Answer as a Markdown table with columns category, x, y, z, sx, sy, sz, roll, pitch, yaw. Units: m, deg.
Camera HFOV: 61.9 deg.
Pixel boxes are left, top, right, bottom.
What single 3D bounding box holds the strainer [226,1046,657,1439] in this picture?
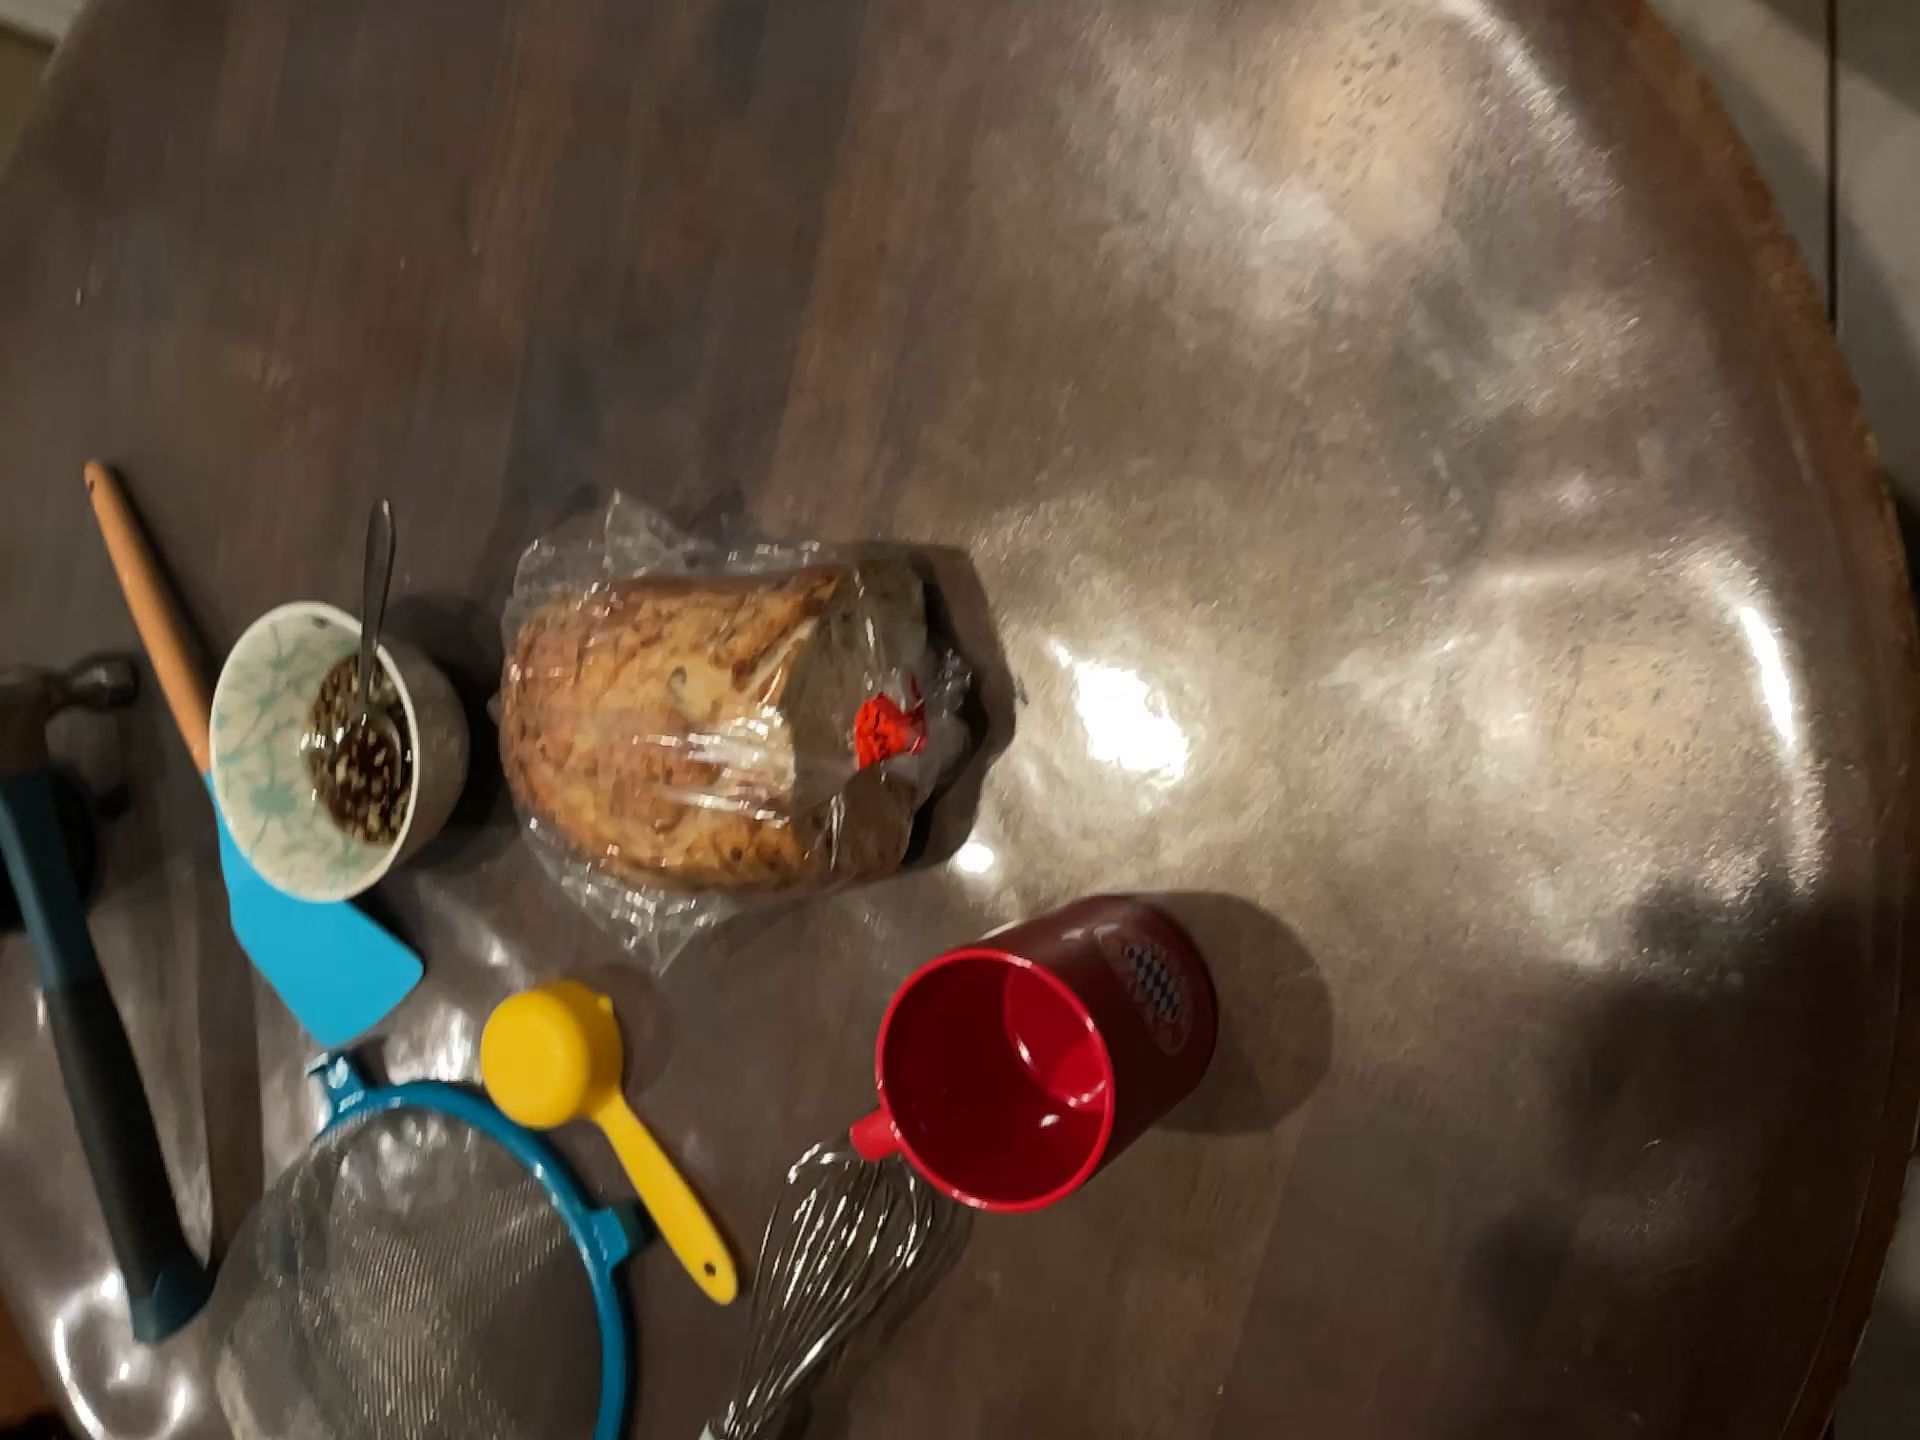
| category | x | y | z | sx | sy | sz | roll | pitch | yaw |
| --- | --- | --- | --- | --- | --- | --- | --- | --- | --- |
| strainer | -0.265 | 0.330 | 0.700 | 0.211 | 0.095 | 0.340 | 19 | 97 | 27 |

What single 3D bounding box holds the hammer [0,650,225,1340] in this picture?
| category | x | y | z | sx | sy | sz | roll | pitch | yaw |
| --- | --- | --- | --- | --- | --- | --- | --- | --- | --- |
| hammer | -0.421 | 0.137 | 0.777 | 0.033 | 0.128 | 0.331 | -10 | 97 | 31 |

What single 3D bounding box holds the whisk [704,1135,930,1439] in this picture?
| category | x | y | z | sx | sy | sz | roll | pitch | yaw |
| --- | --- | --- | --- | --- | --- | --- | --- | --- | --- |
| whisk | -0.080 | 0.265 | 0.606 | 0.059 | 0.058 | 0.246 | 25 | 97 | -7 |

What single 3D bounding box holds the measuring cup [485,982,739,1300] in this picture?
| category | x | y | z | sx | sy | sz | roll | pitch | yaw |
| --- | --- | --- | --- | --- | --- | --- | --- | --- | --- |
| measuring cup | -0.144 | 0.177 | 0.661 | 0.062 | 0.029 | 0.156 | -48 | 70 | 22 |

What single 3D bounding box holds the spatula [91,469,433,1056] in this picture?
| category | x | y | z | sx | sy | sz | roll | pitch | yaw |
| --- | --- | --- | --- | --- | --- | --- | --- | --- | --- |
| spatula | -0.350 | 0.009 | 0.767 | 0.082 | 0.044 | 0.317 | -38 | 72 | 25 |
